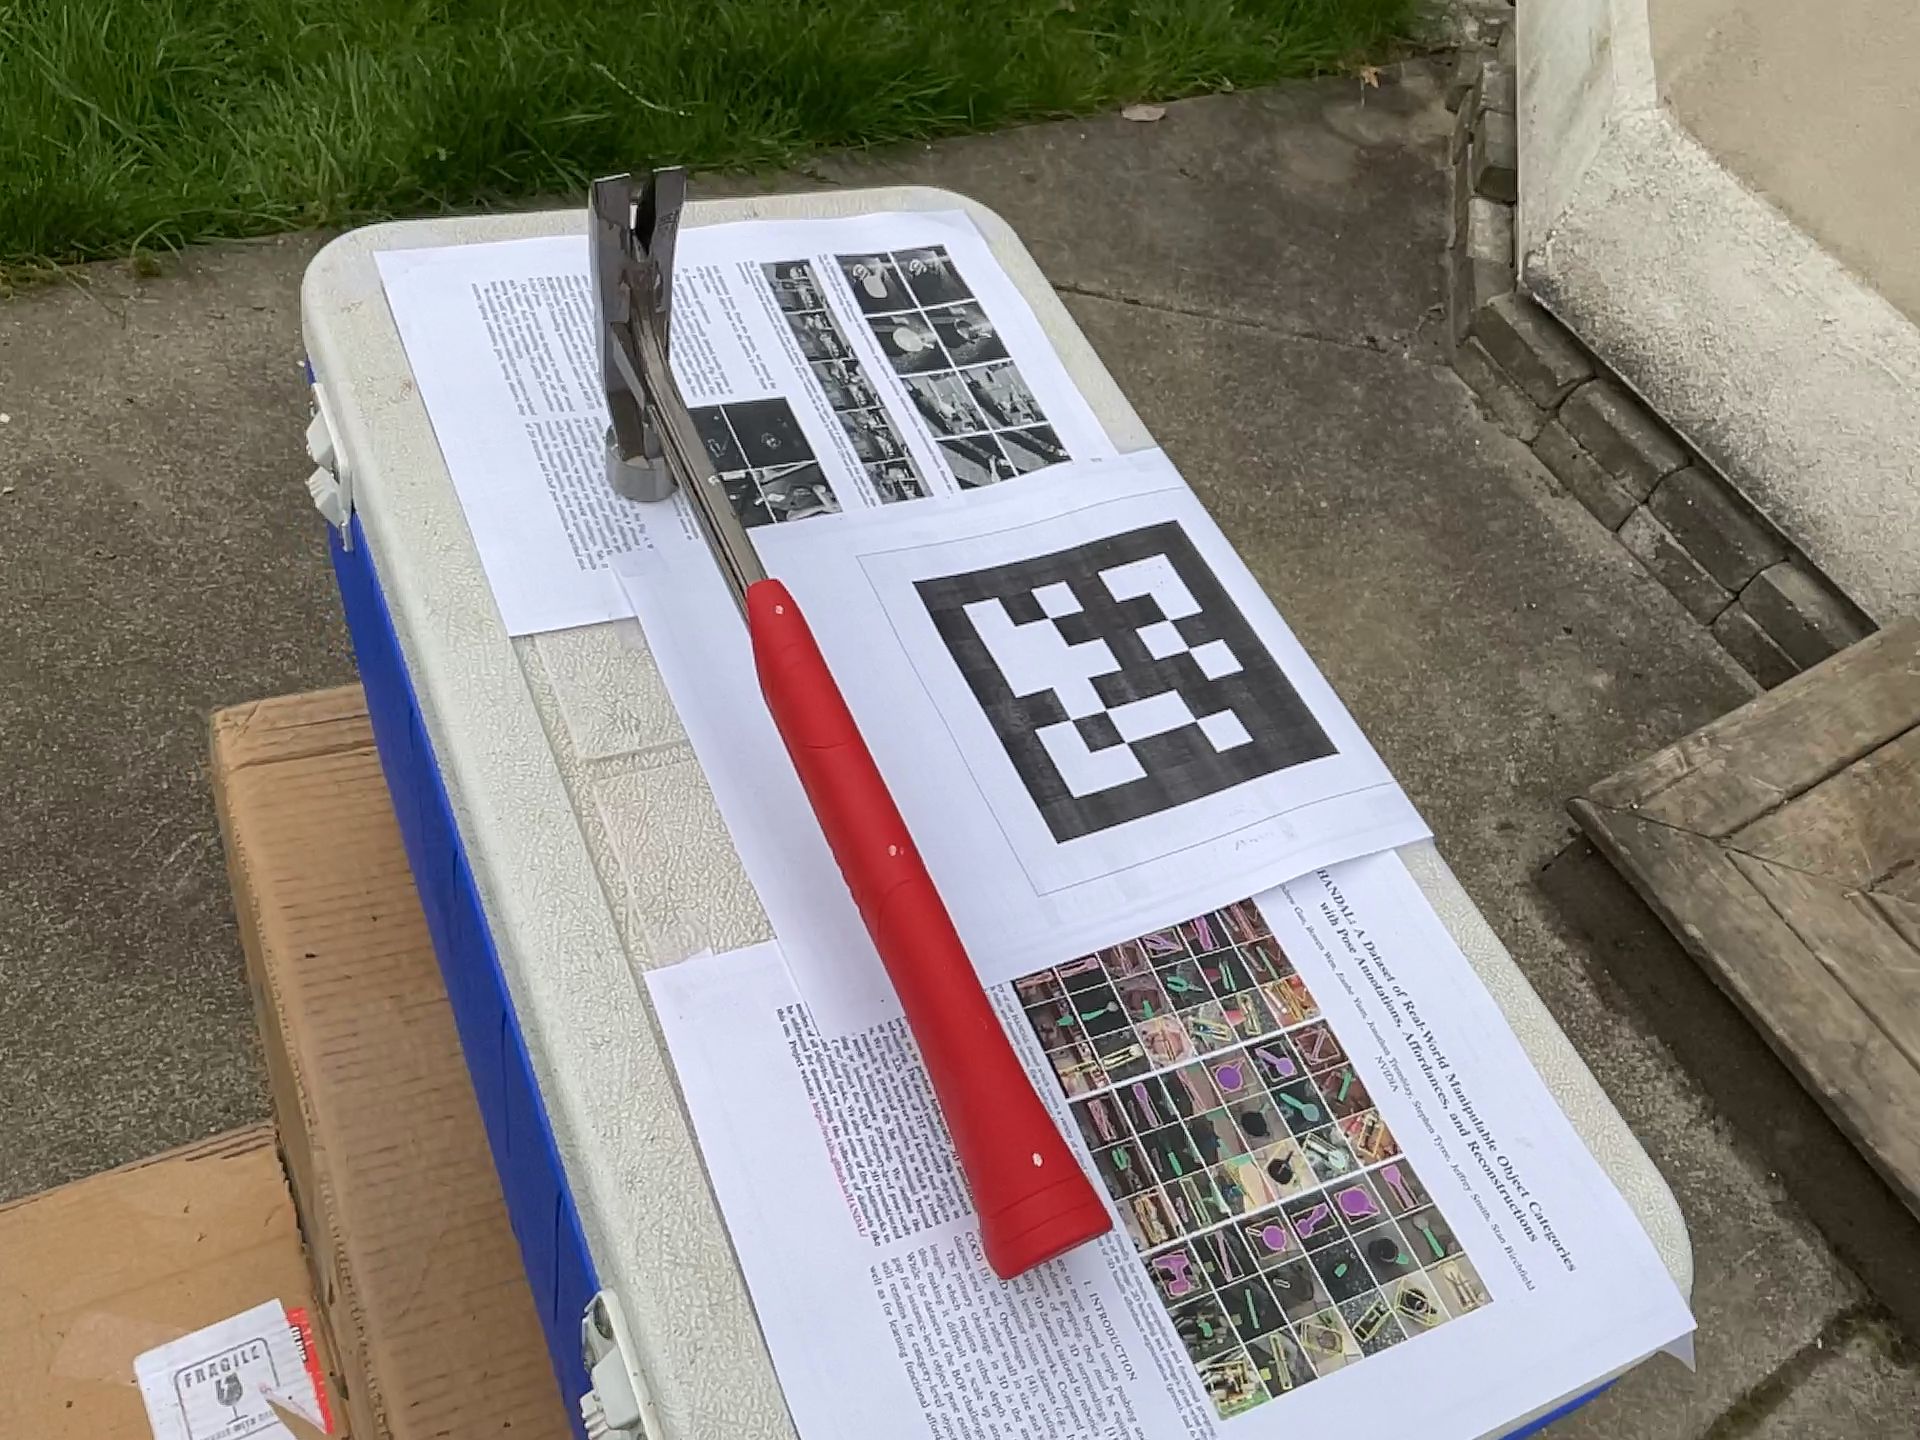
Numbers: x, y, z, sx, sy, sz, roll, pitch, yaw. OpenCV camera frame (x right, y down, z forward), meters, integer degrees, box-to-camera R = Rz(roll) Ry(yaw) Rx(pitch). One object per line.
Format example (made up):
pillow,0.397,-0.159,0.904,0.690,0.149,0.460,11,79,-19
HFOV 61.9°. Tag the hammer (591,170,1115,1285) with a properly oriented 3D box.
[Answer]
hammer,-0.045,-0.001,0.512,0.036,0.149,0.359,-18,66,-20
